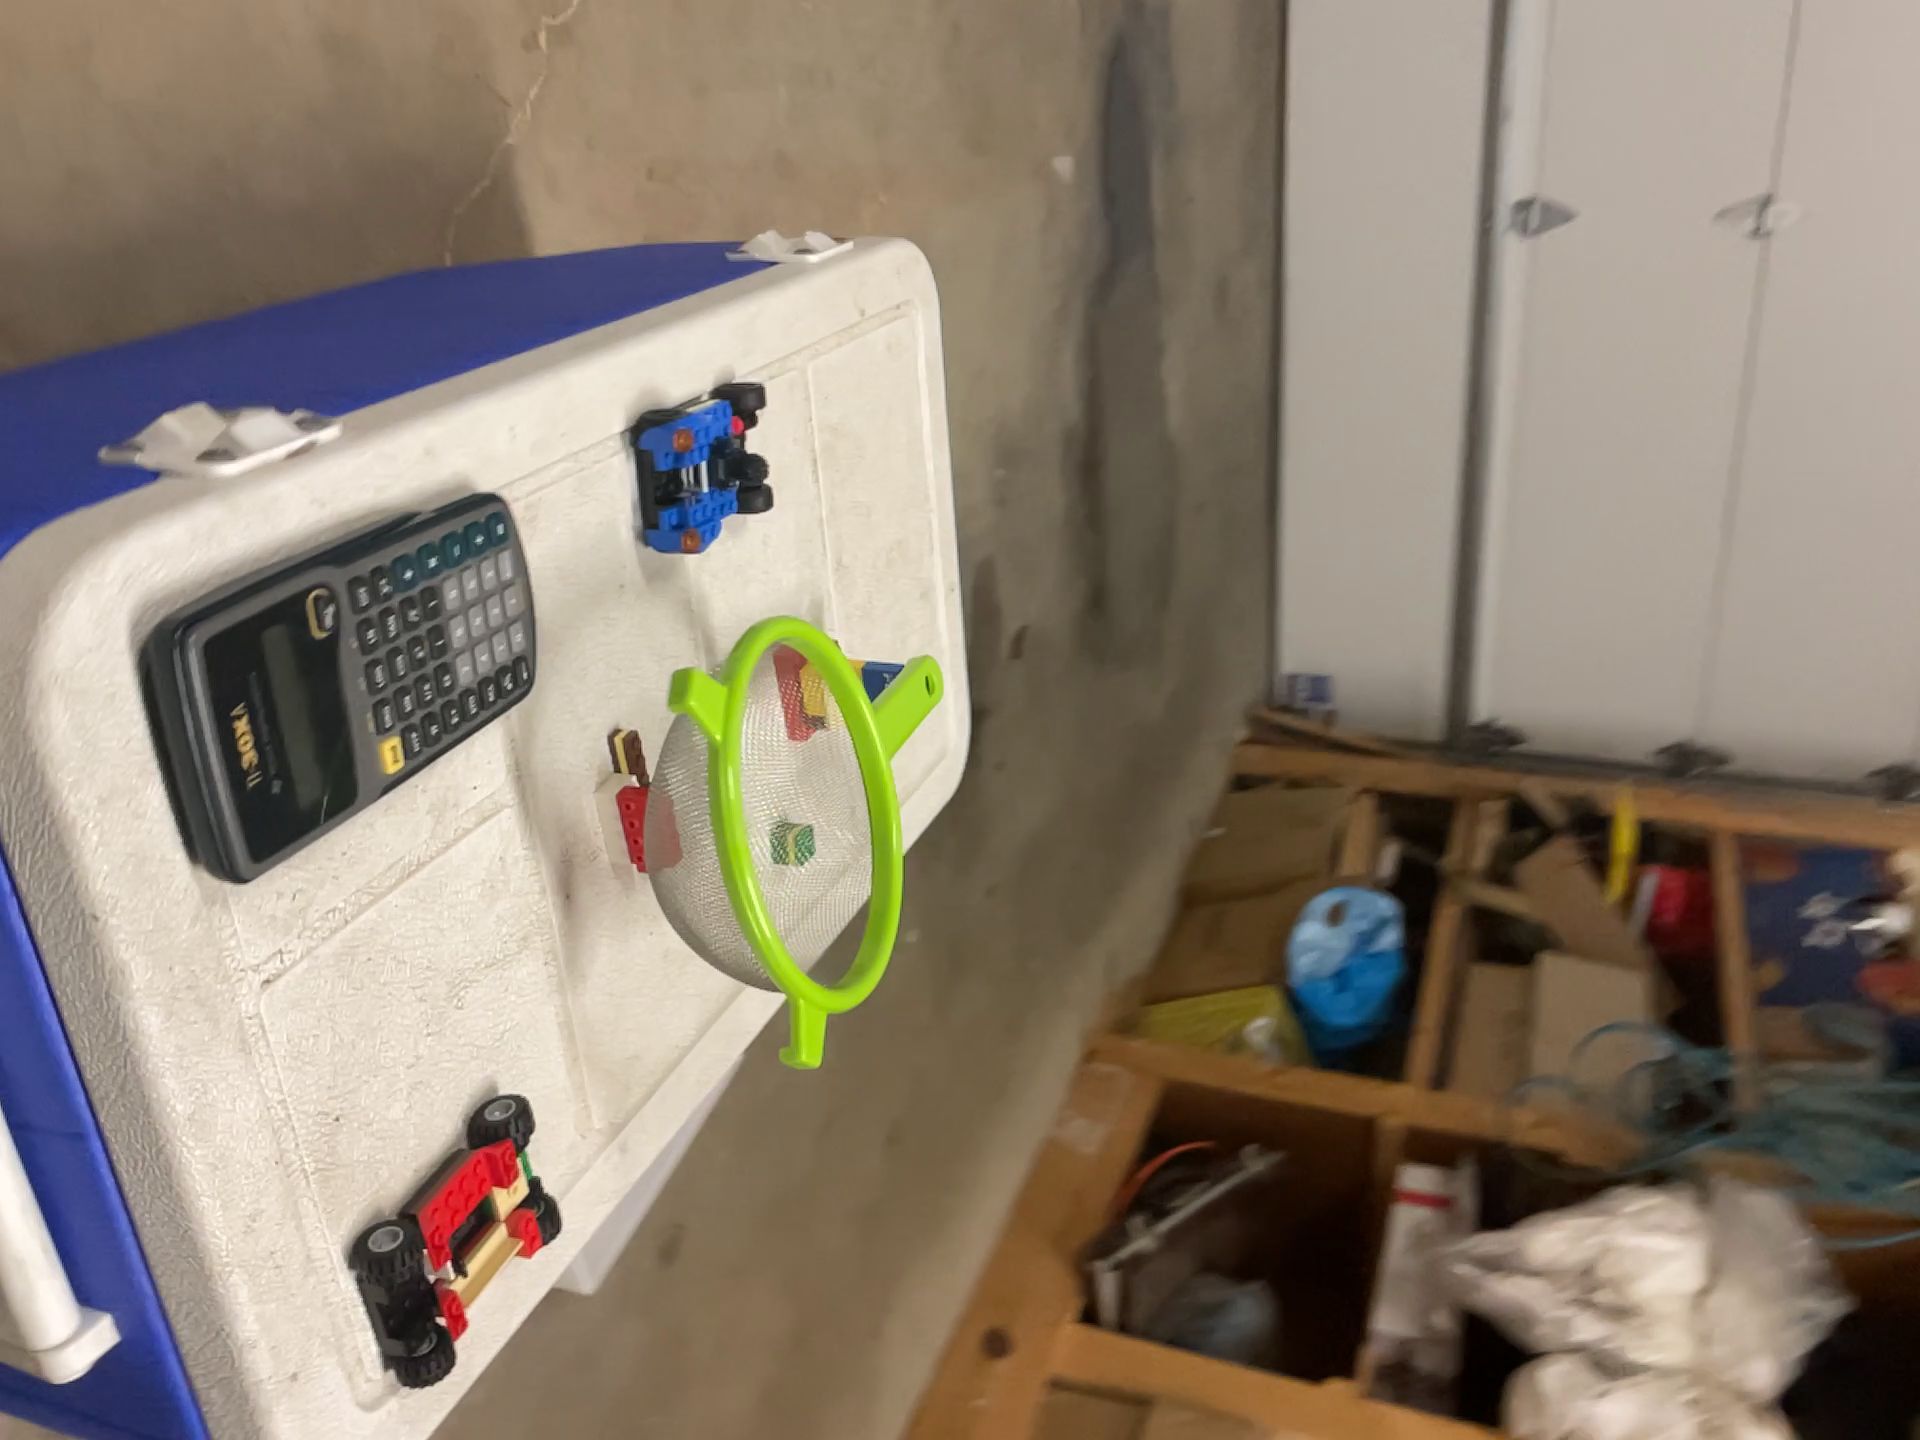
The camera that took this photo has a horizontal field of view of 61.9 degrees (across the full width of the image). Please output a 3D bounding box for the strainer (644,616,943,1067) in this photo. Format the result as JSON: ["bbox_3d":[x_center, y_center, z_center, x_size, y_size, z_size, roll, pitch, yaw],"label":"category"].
[{"bbox_3d":[-0.068,0.022,0.663,0.257,0.069,0.151,-54,131,-67],"label":"strainer"}]
